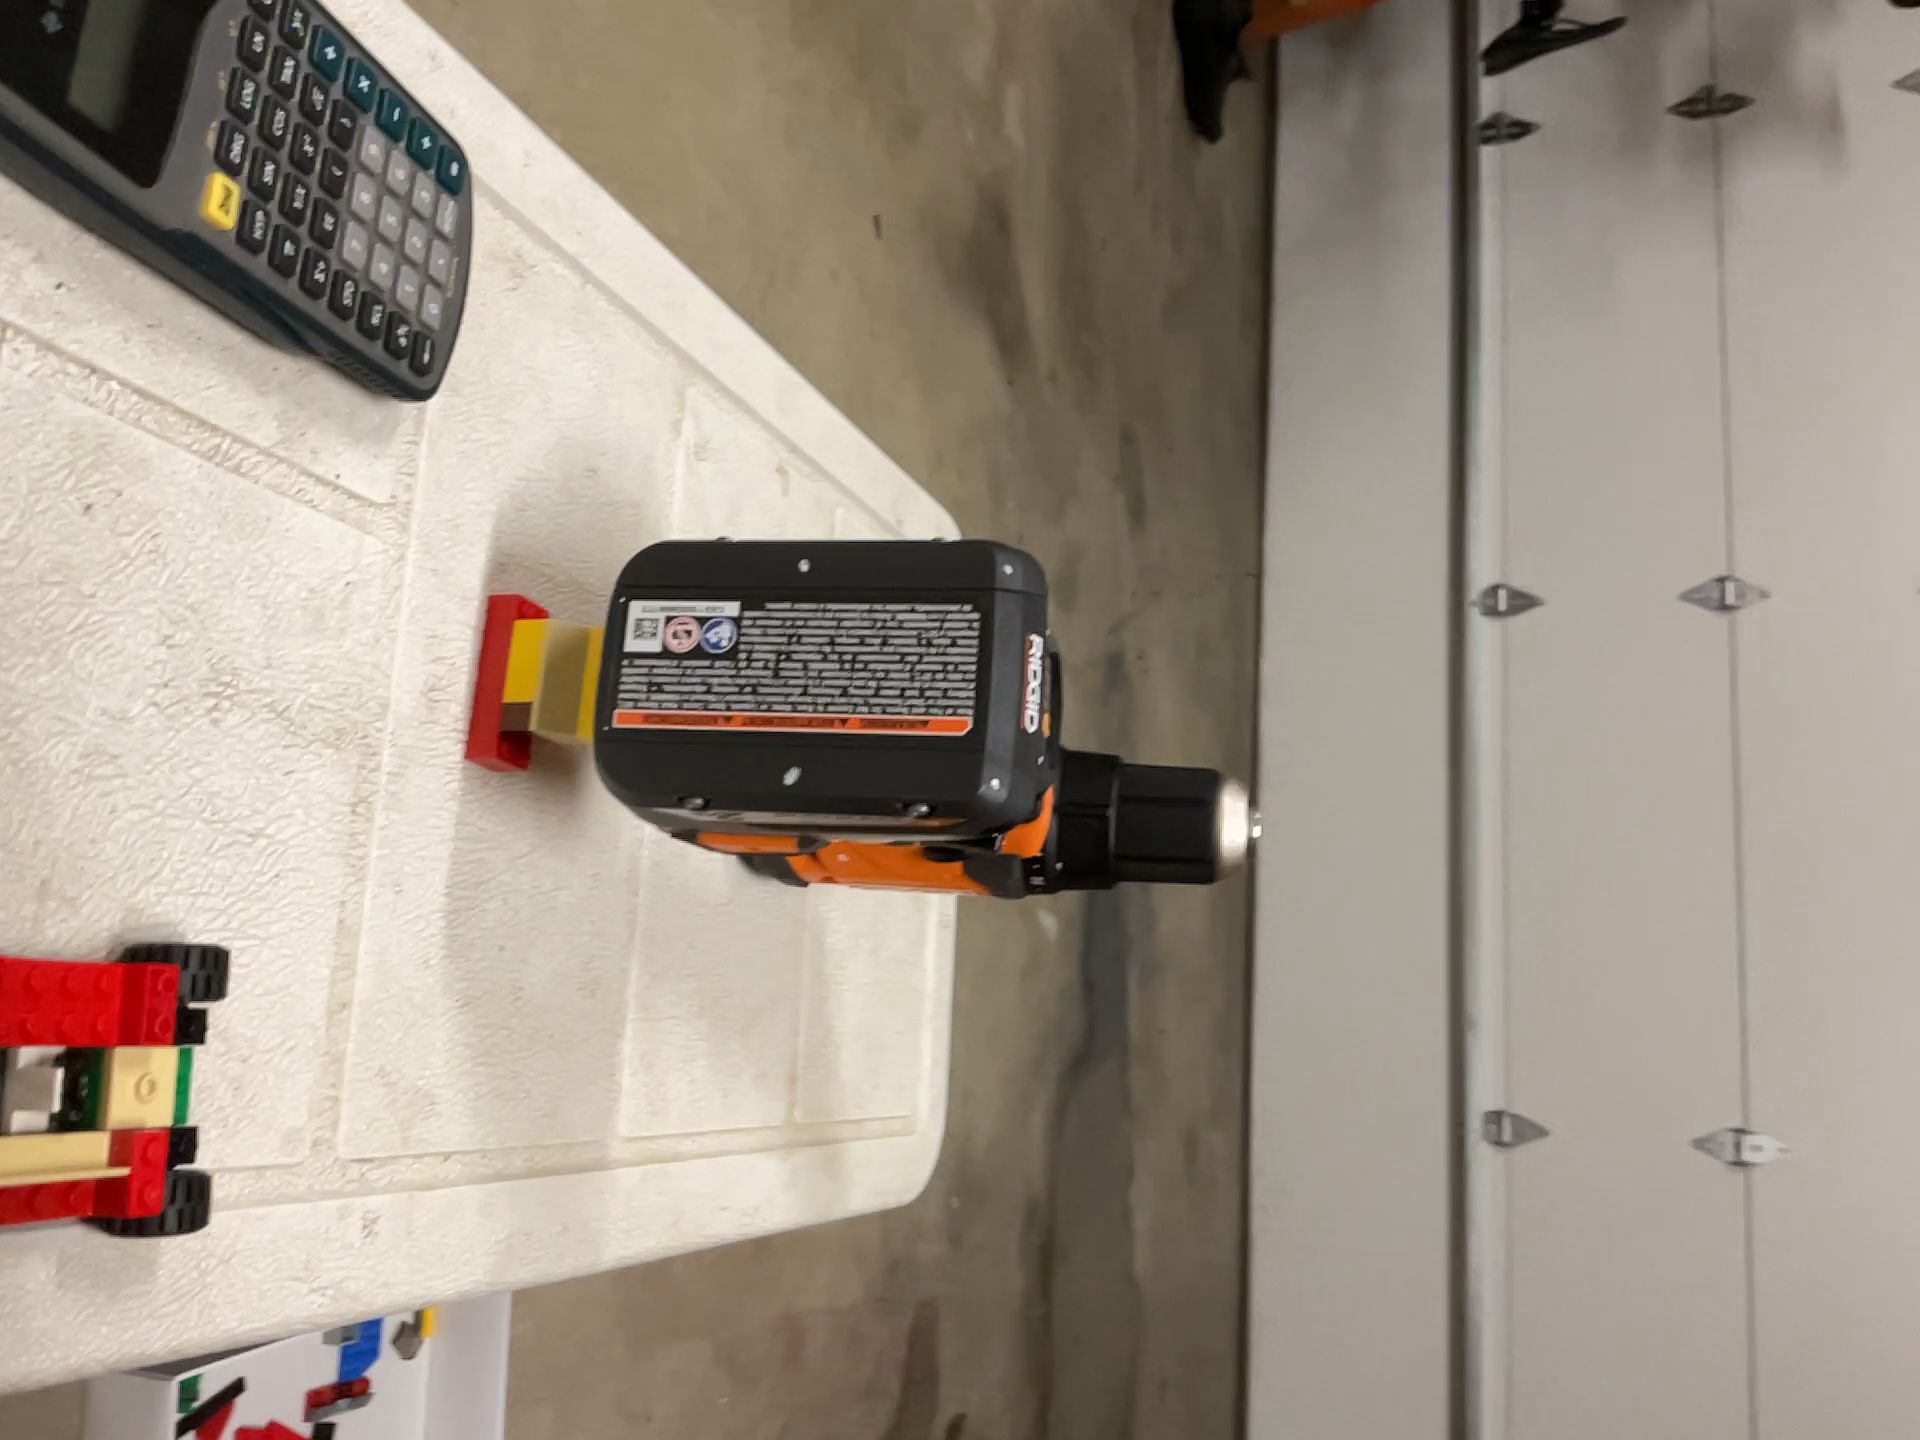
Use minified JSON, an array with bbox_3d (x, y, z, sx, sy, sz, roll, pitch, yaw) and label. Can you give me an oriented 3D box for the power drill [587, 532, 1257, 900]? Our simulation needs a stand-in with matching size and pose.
[{"bbox_3d":[0.001,0.015,0.509,0.226,0.185,0.084,57,36,-72],"label":"power drill"}]
